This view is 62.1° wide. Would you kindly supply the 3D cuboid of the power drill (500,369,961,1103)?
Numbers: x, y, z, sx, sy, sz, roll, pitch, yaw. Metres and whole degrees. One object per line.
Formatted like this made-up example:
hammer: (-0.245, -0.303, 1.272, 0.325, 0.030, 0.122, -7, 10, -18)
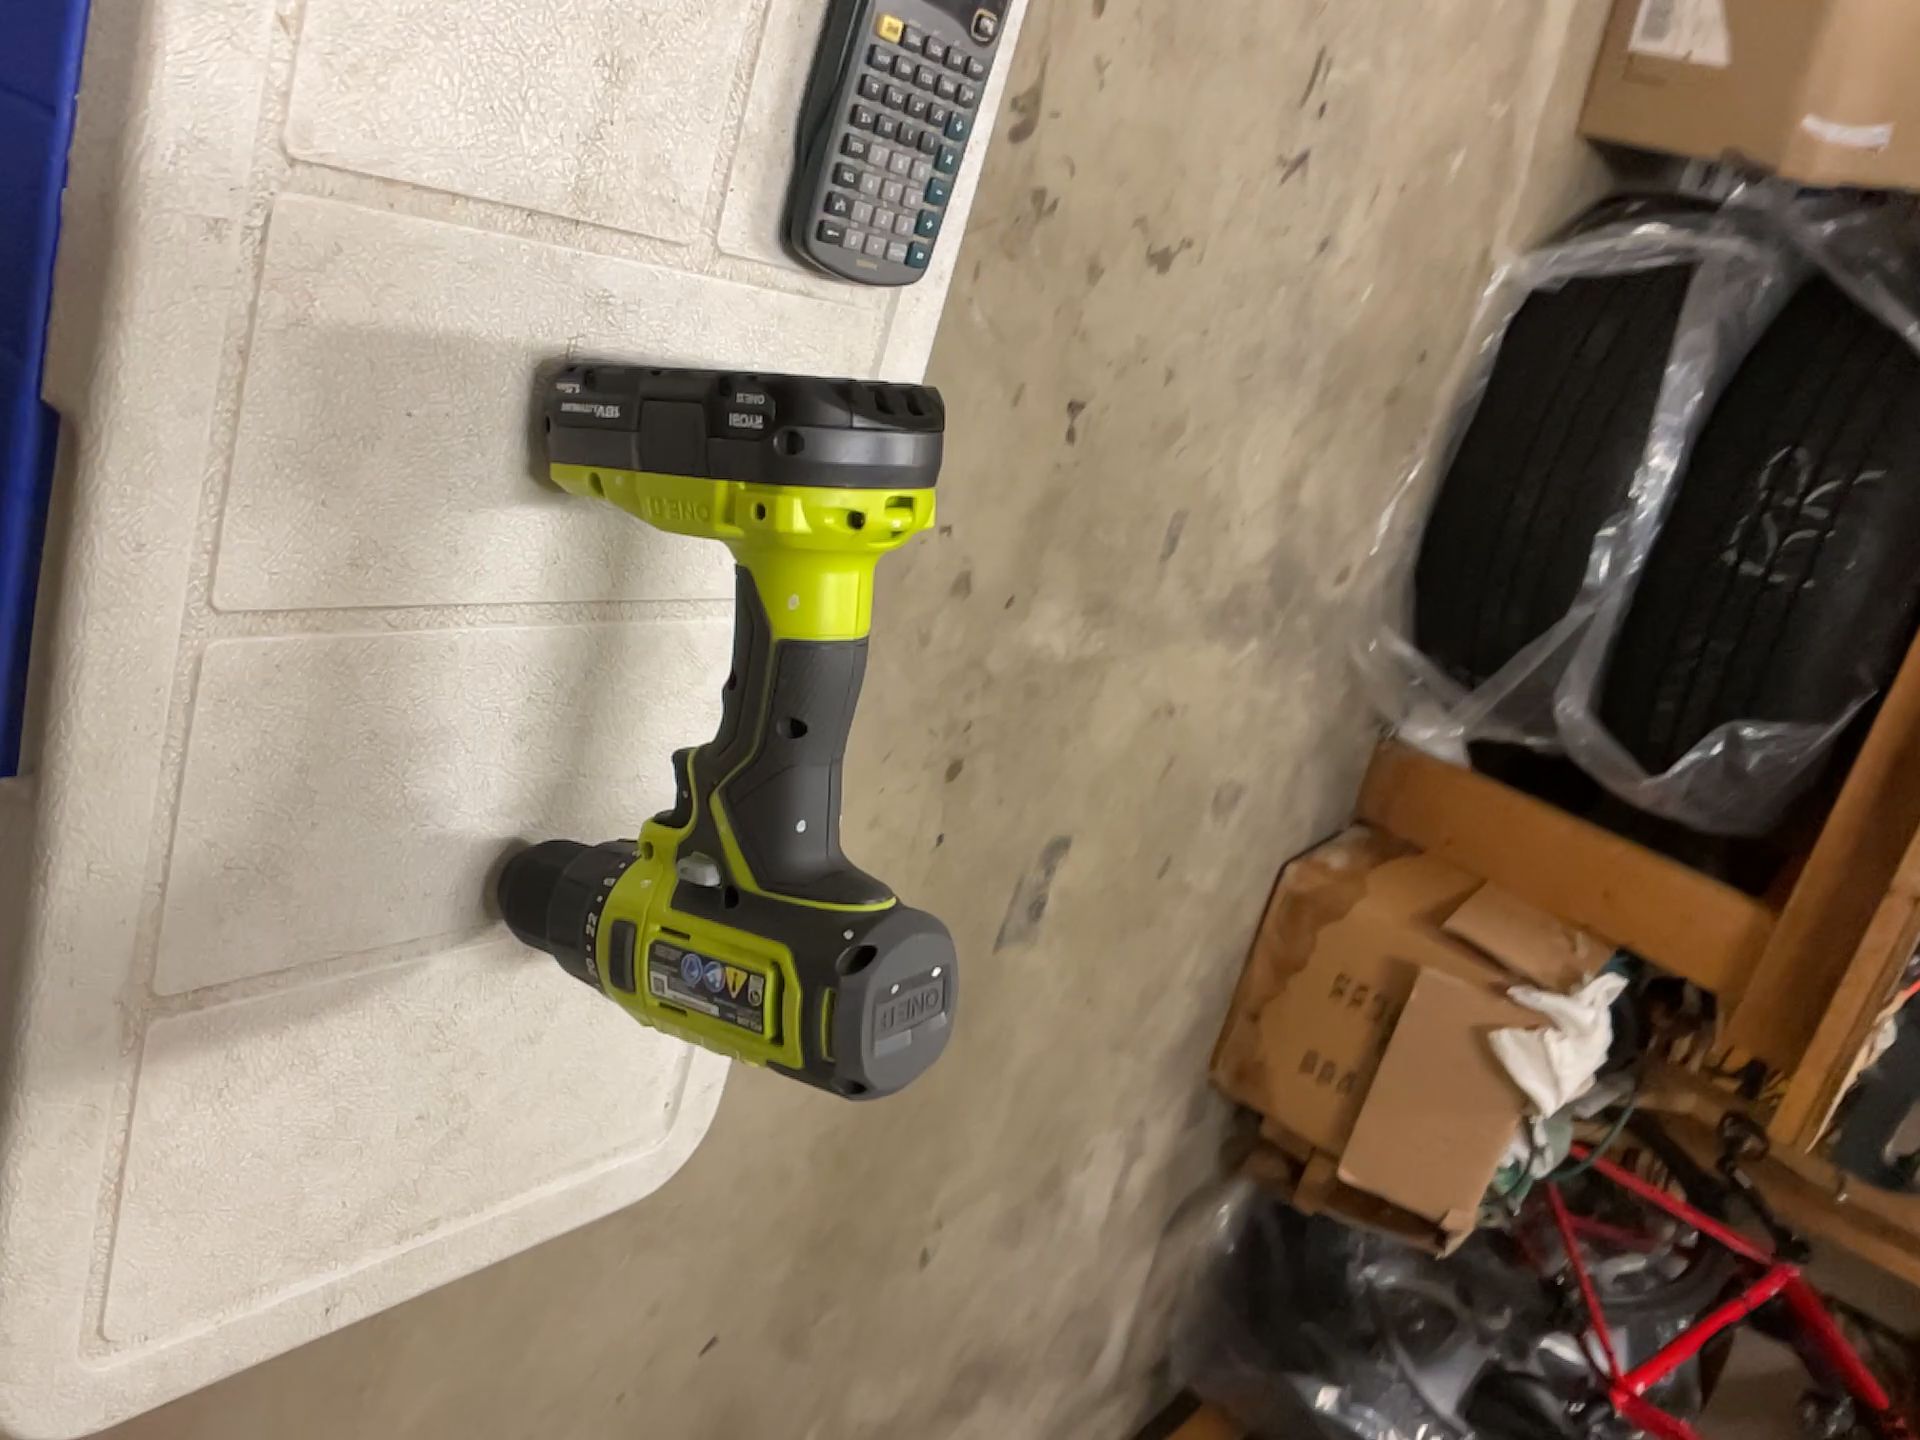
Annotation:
power drill: (-0.087, 0.000, 0.544, 0.080, 0.190, 0.228, -11, 108, -53)
